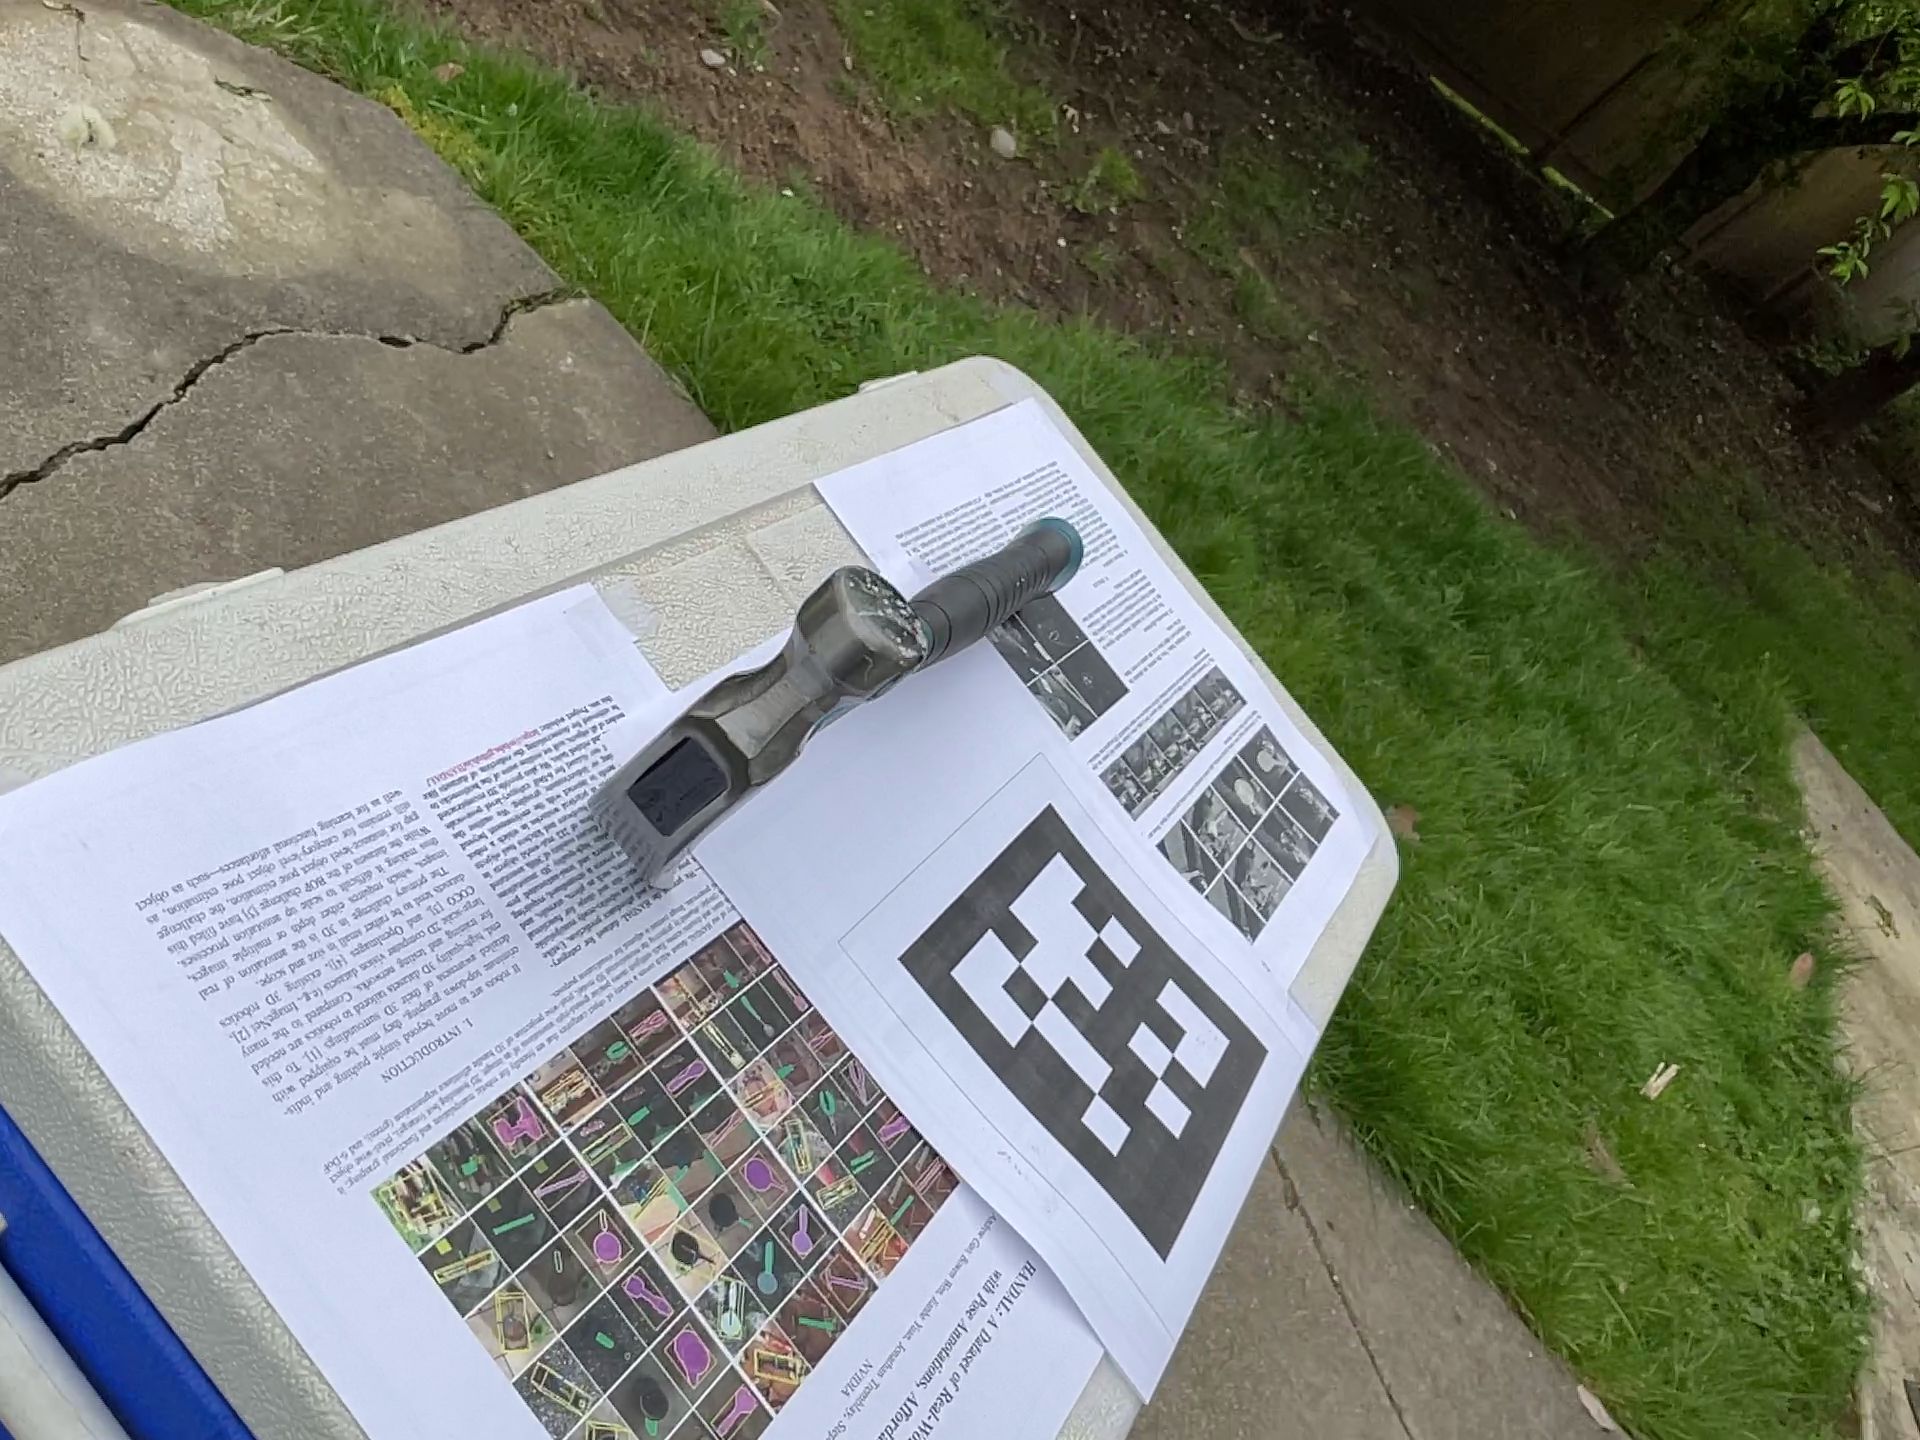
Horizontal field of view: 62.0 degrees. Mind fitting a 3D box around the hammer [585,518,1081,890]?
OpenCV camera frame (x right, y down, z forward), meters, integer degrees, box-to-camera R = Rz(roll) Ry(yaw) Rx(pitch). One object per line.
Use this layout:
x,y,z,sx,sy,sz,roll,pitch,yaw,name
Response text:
-0.016,-0.027,0.535,0.033,0.128,0.331,52,24,0,hammer
